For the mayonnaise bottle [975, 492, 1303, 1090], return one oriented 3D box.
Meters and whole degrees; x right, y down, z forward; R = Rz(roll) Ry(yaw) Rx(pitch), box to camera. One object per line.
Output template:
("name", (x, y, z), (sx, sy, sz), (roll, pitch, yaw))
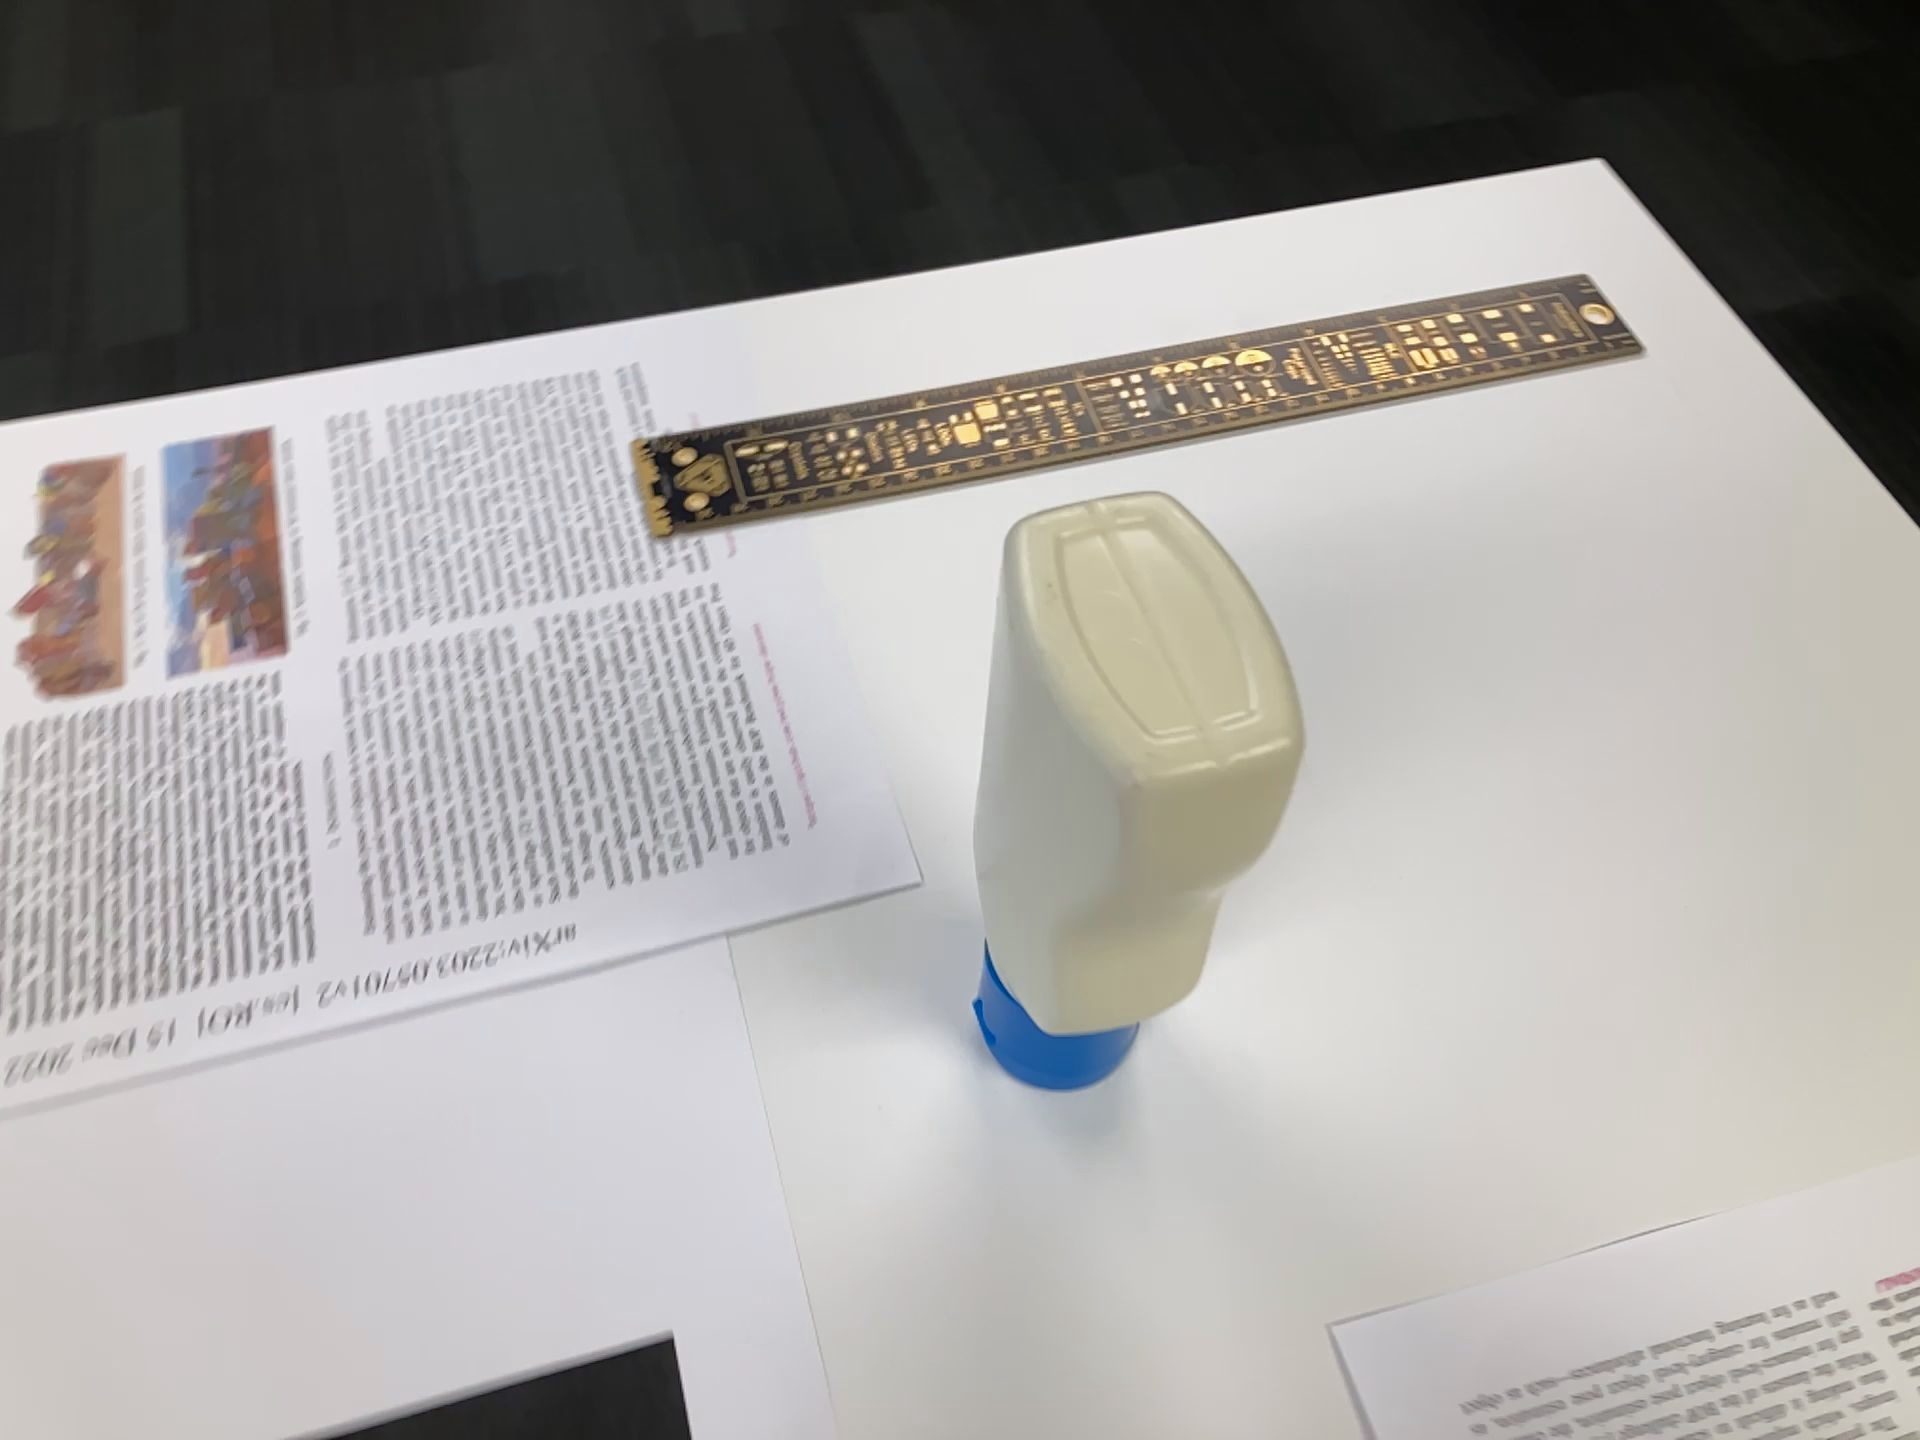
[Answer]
("mayonnaise bottle", (0.026, 0.027, 0.308), (0.041, 0.148, 0.065), (-13, 57, -12))
